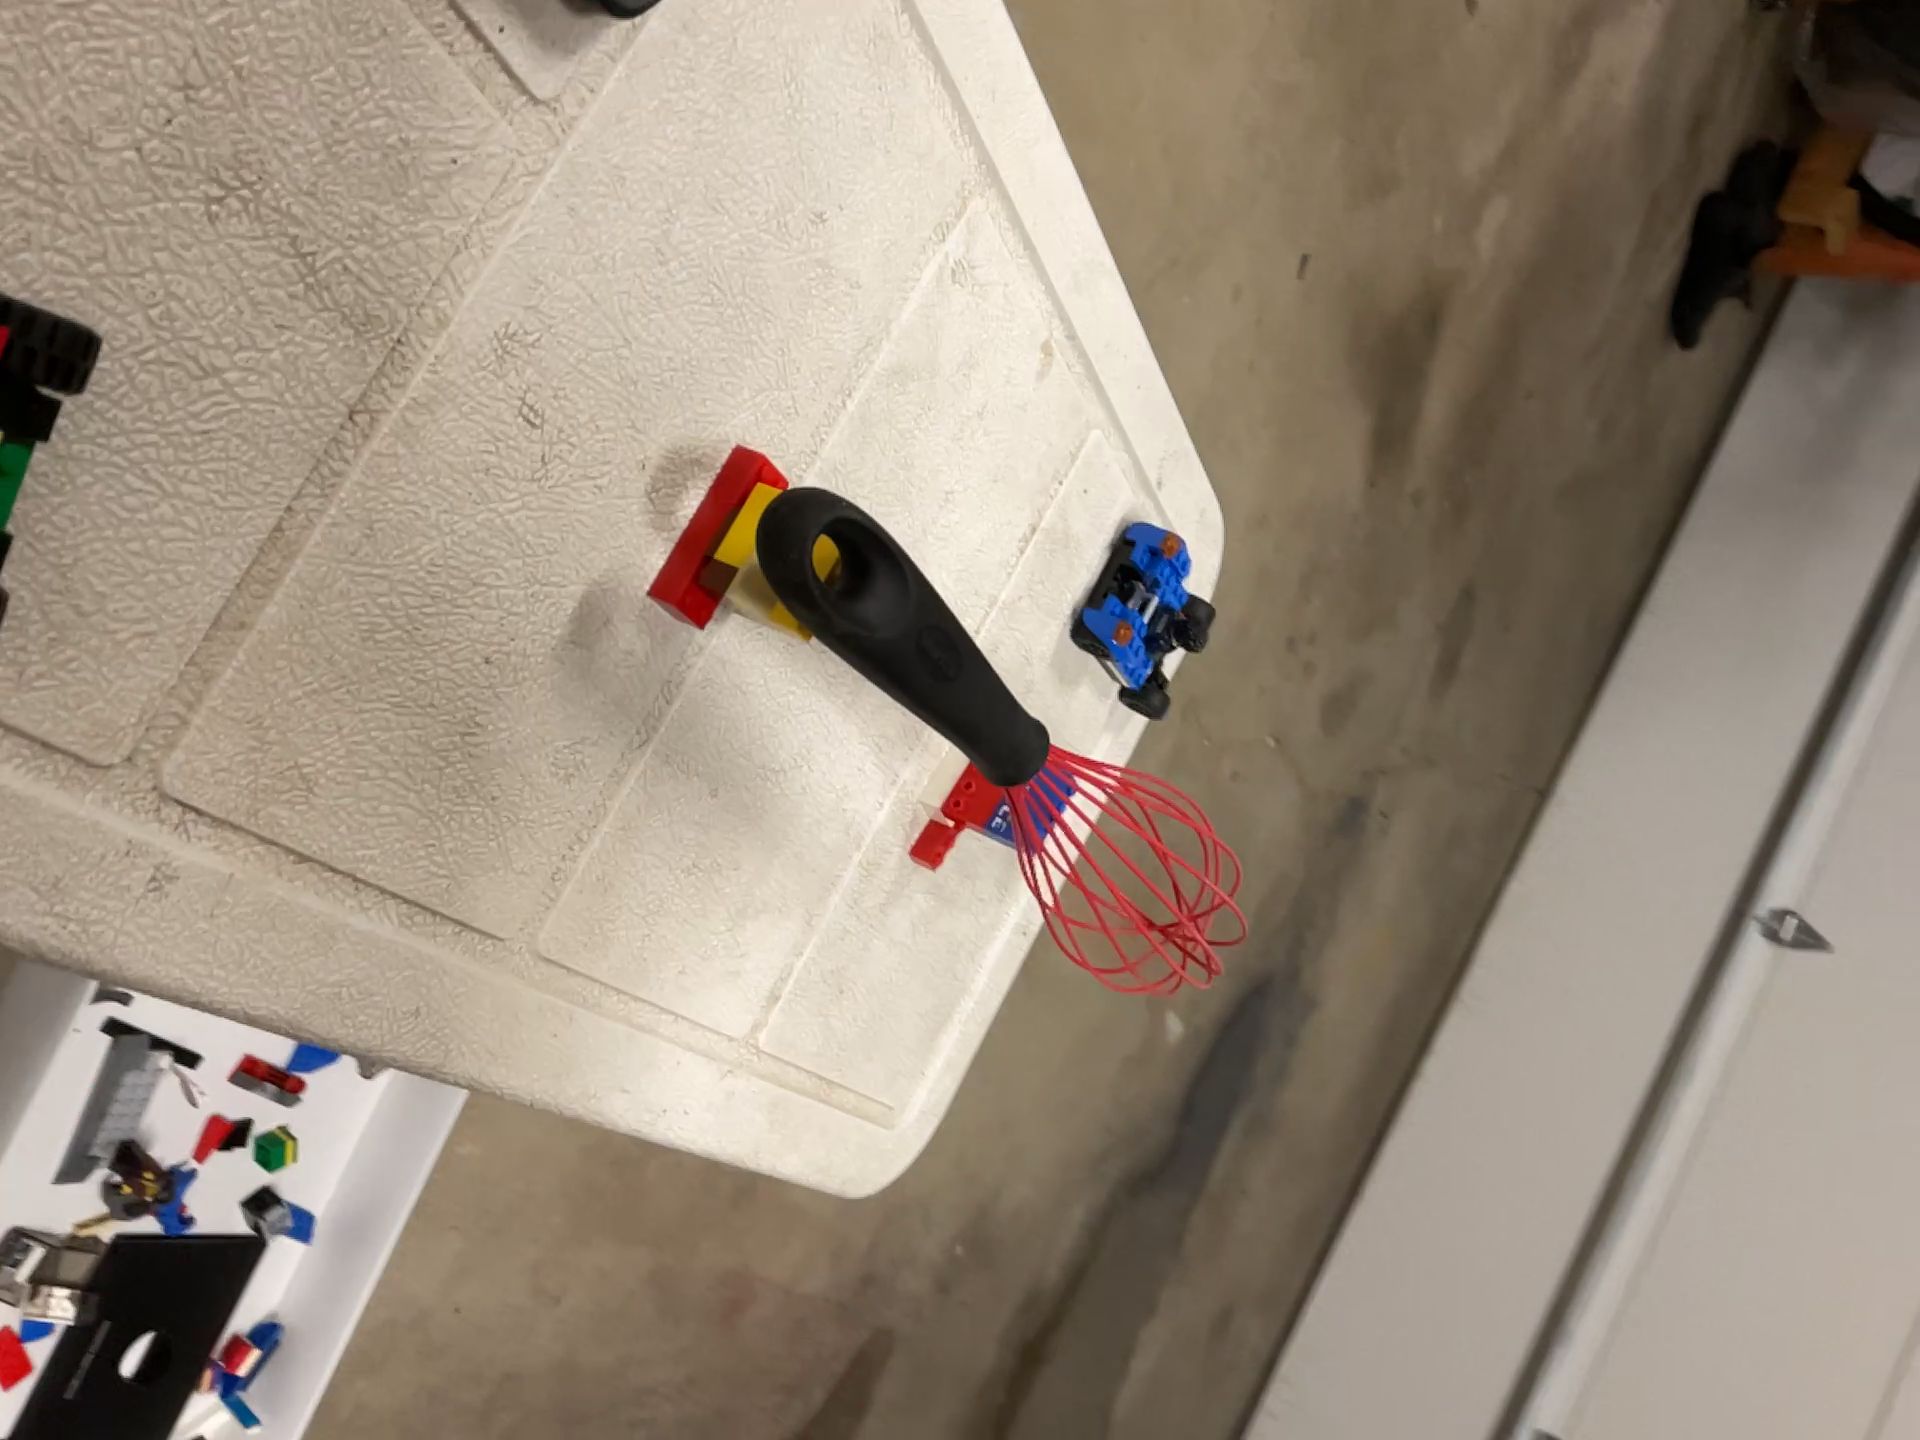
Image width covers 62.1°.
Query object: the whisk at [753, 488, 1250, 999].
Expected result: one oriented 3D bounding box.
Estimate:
[{"bbox_3d":[0.024,0.018,0.487,0.073,0.073,0.295,-58,141,-11],"label":"whisk"}]
